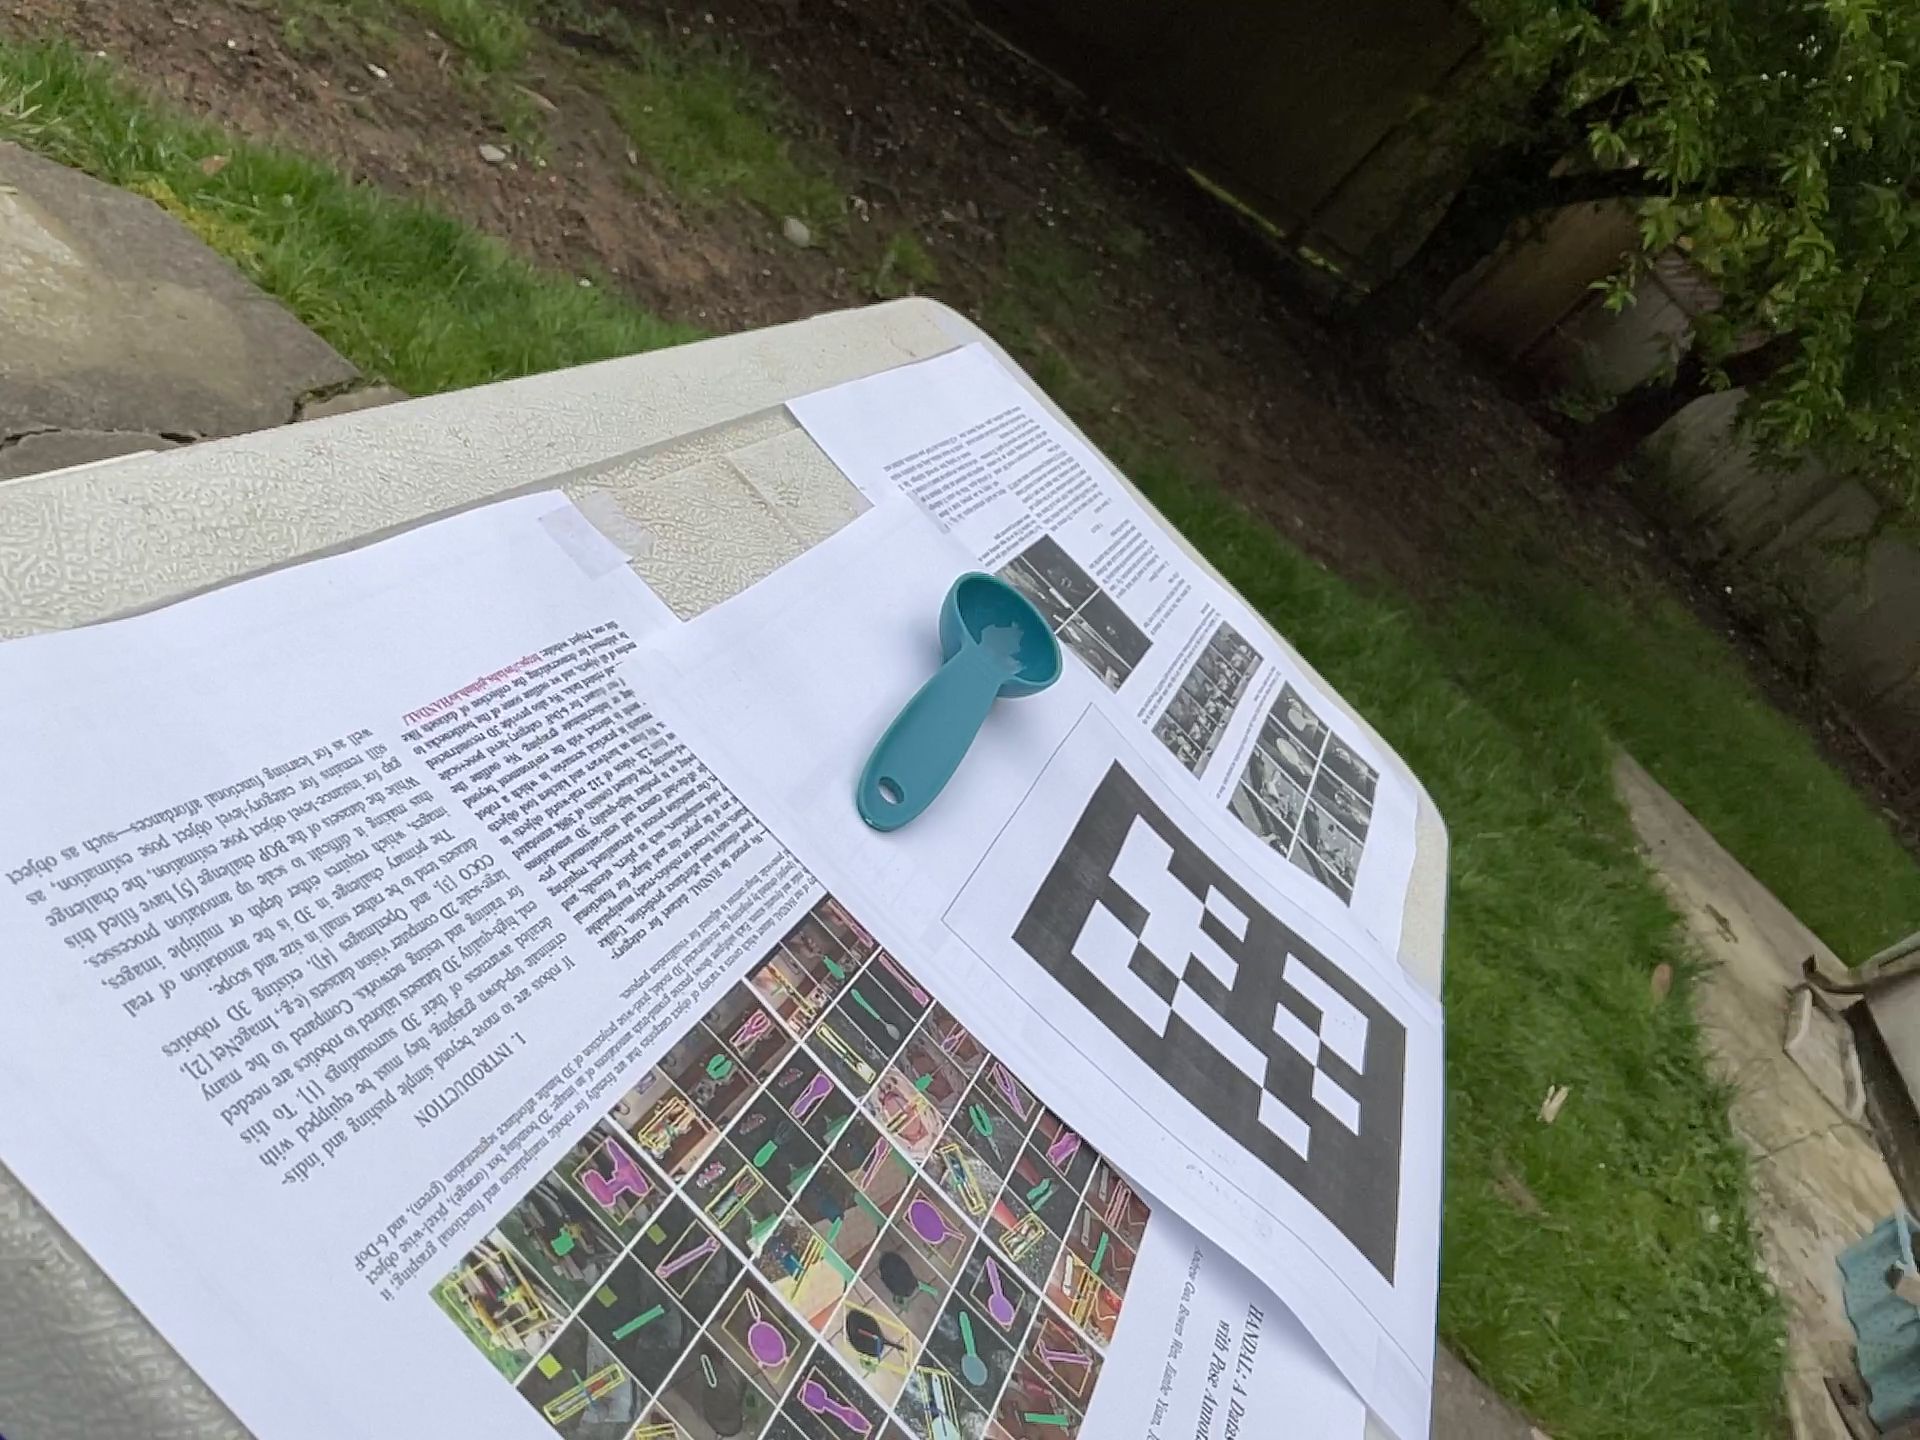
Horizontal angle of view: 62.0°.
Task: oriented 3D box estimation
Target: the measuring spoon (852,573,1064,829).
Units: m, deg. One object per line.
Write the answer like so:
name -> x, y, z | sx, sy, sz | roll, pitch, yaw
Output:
measuring spoon -> -0.006, -0.002, 0.443 | 0.042, 0.021, 0.129 | 43, 35, -5
